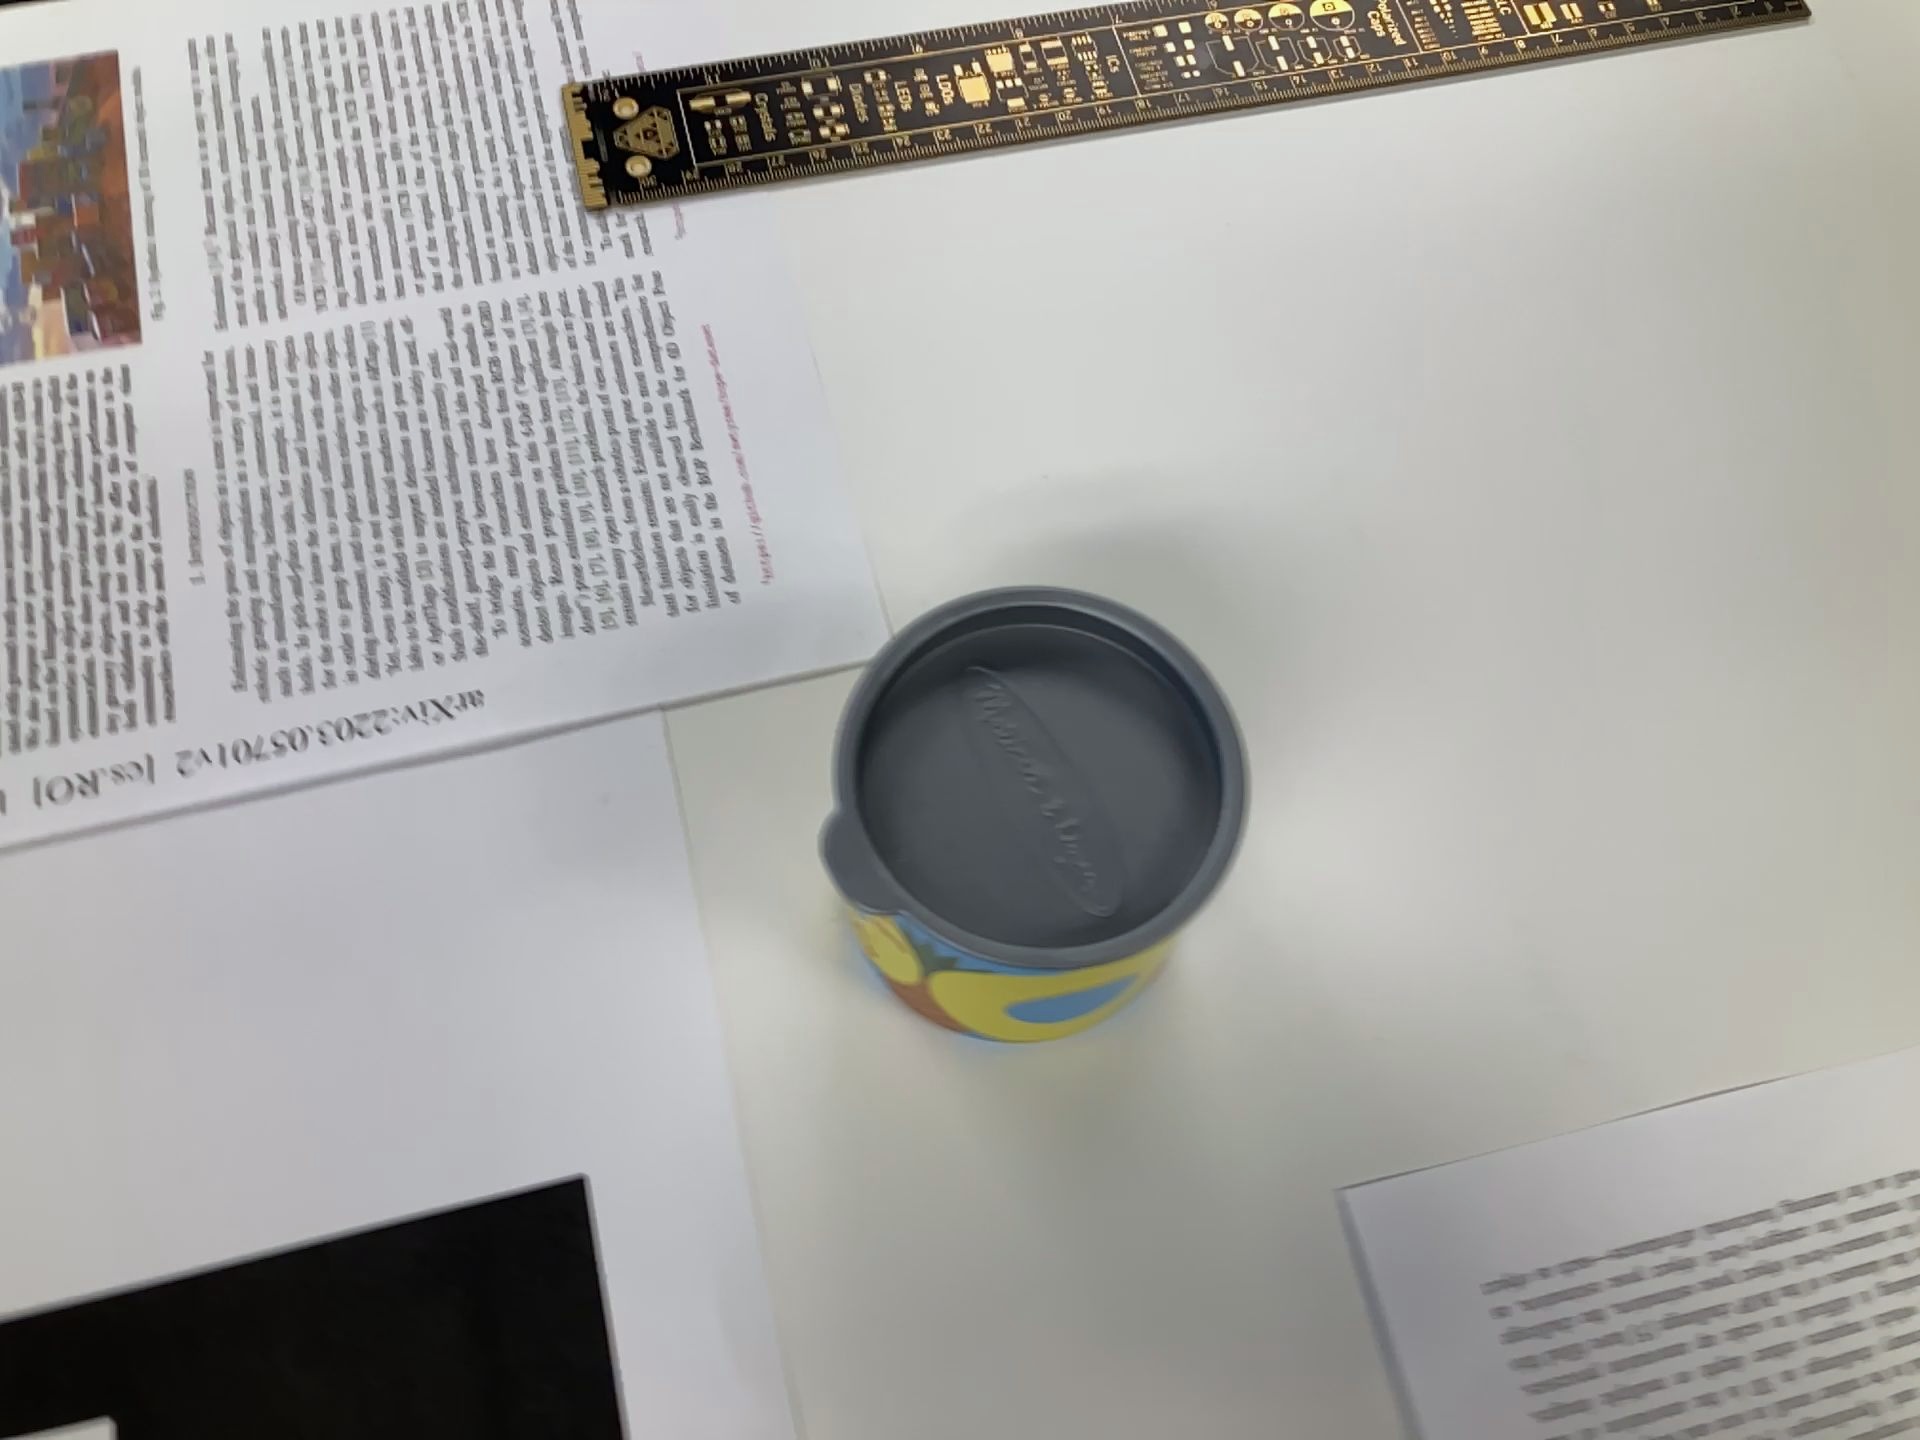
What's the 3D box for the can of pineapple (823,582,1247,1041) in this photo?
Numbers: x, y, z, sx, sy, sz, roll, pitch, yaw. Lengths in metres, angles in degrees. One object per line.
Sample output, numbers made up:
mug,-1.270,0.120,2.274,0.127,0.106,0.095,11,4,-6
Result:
can of pineapple,0.010,0.018,0.279,0.071,0.058,0.071,1,65,-2
